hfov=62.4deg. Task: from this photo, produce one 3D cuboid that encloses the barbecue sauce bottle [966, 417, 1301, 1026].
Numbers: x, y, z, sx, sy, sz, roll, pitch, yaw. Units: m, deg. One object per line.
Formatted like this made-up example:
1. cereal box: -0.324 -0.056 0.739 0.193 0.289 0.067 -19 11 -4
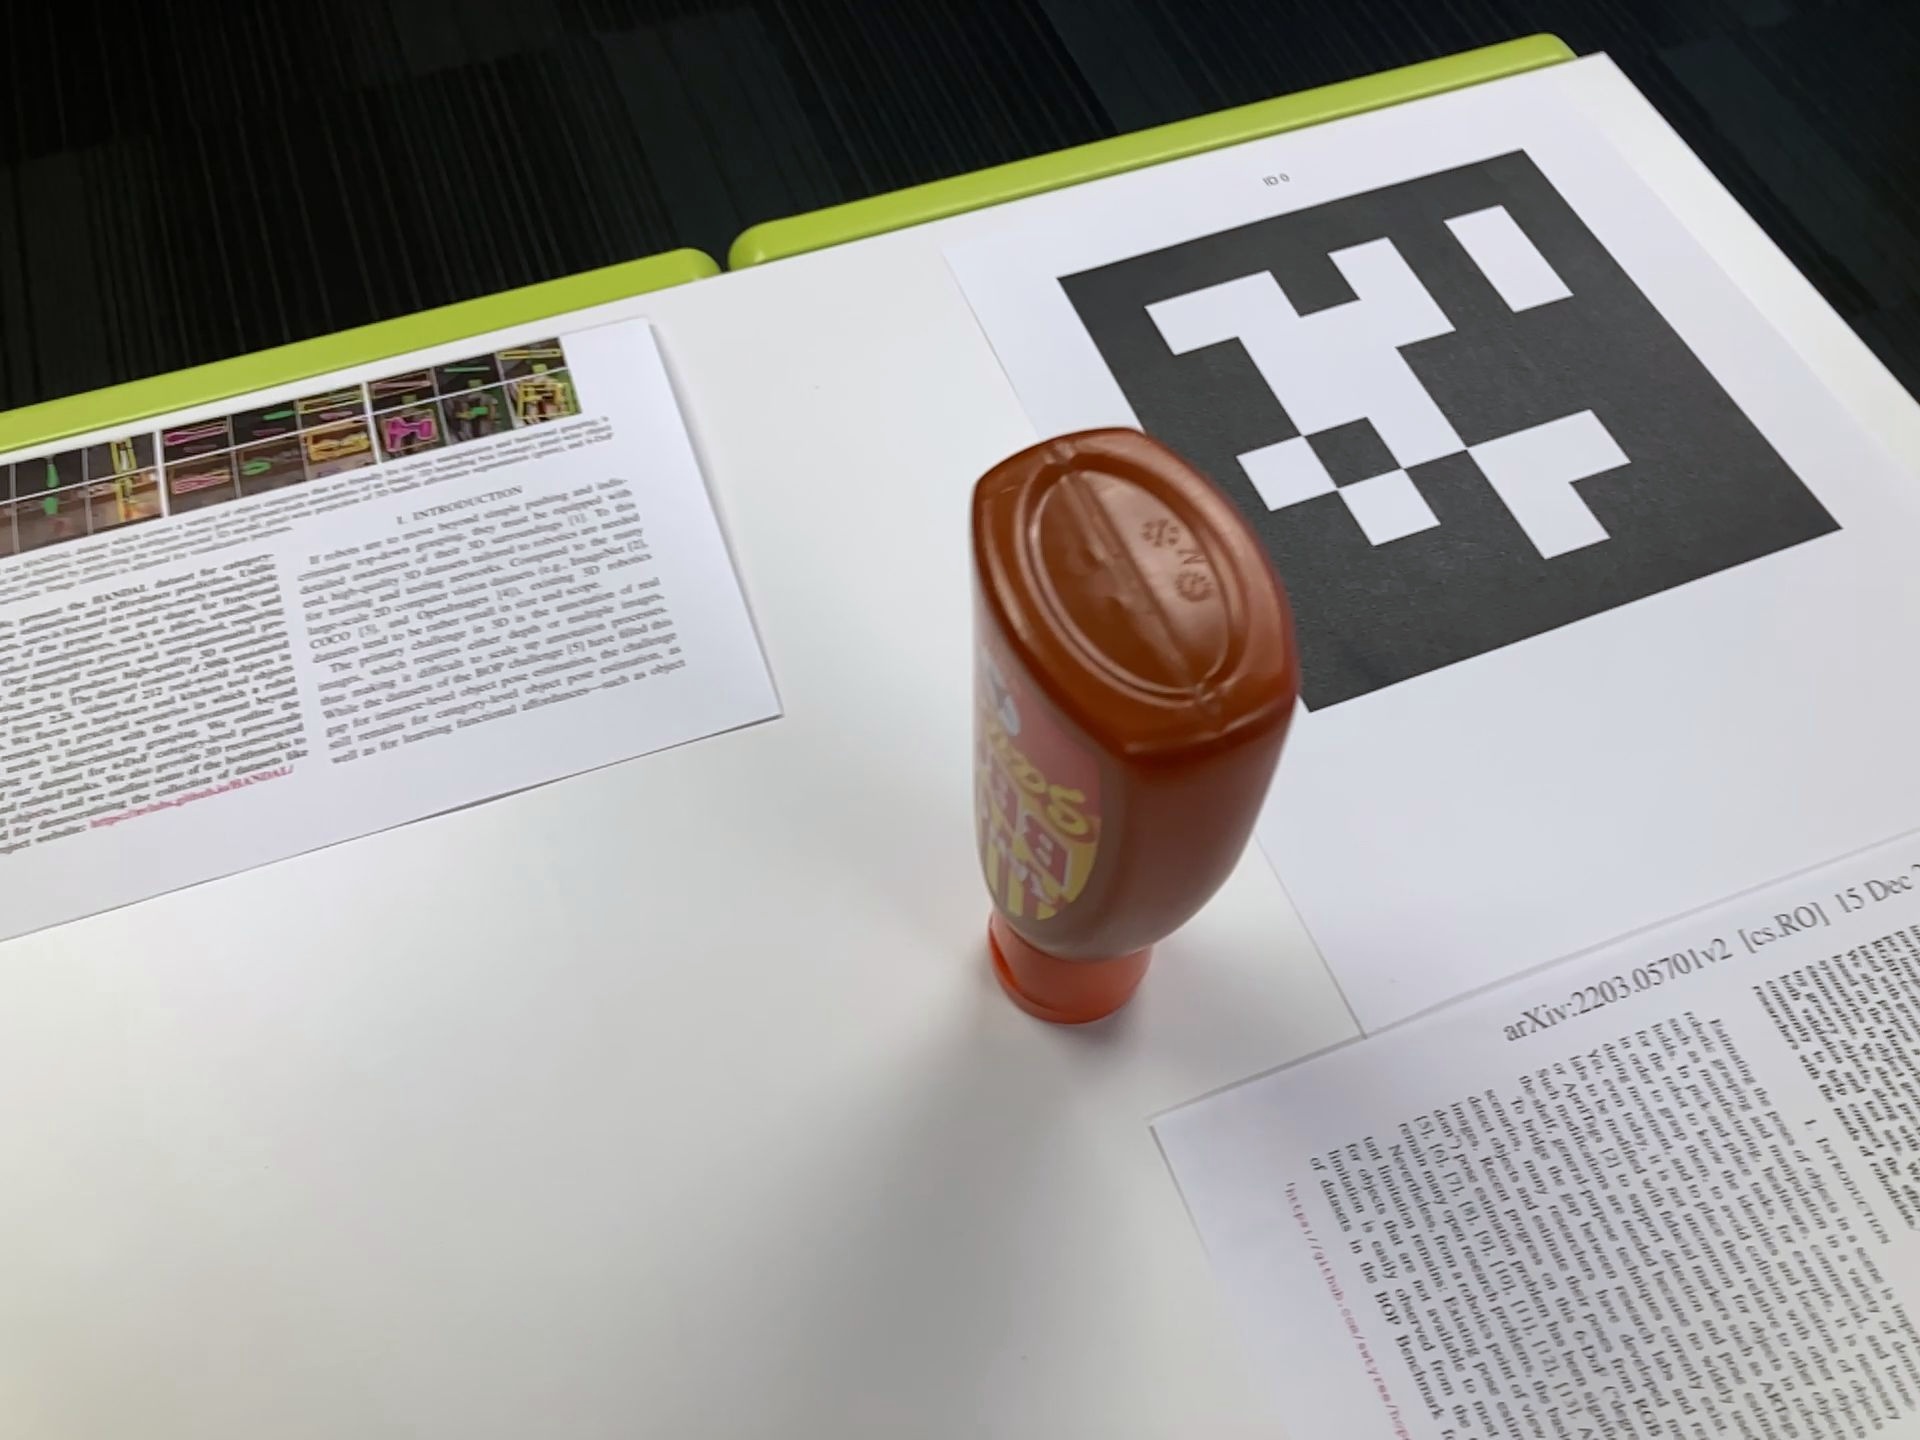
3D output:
1. barbecue sauce bottle: 0.025 0.015 0.297 0.043 0.148 0.065 -20 61 -11
